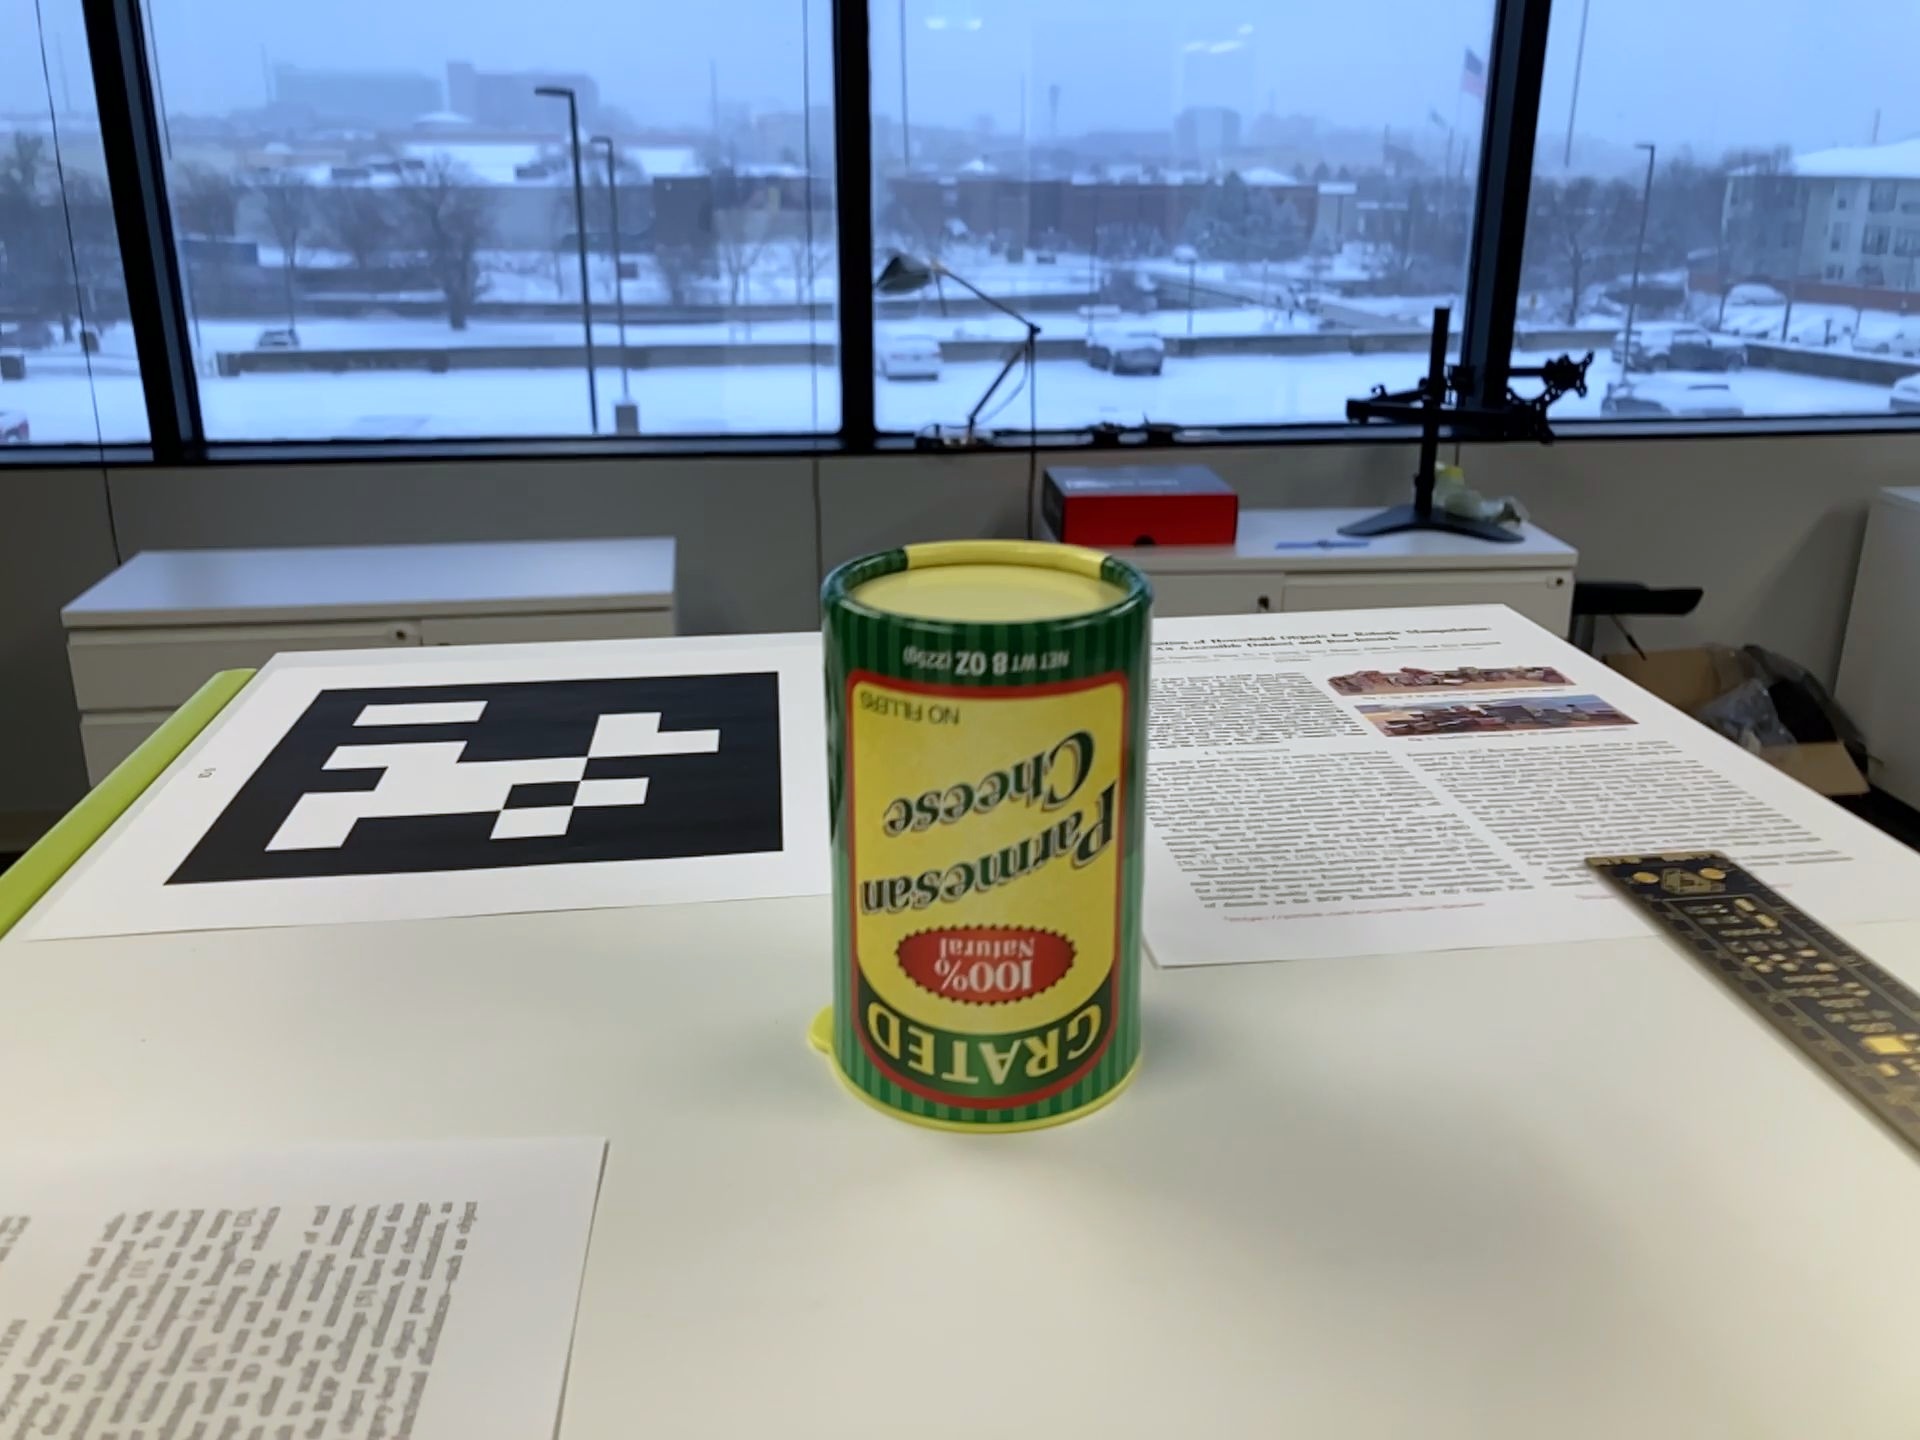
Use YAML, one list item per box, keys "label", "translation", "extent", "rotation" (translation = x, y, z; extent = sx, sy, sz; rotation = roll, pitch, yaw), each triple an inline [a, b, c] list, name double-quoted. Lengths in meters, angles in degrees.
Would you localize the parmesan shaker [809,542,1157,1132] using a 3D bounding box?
- label: "parmesan shaker"
  translation: [0.003, 0.021, 0.321]
  extent: [0.071, 0.103, 0.071]
  rotation: [0, 19, 0]
